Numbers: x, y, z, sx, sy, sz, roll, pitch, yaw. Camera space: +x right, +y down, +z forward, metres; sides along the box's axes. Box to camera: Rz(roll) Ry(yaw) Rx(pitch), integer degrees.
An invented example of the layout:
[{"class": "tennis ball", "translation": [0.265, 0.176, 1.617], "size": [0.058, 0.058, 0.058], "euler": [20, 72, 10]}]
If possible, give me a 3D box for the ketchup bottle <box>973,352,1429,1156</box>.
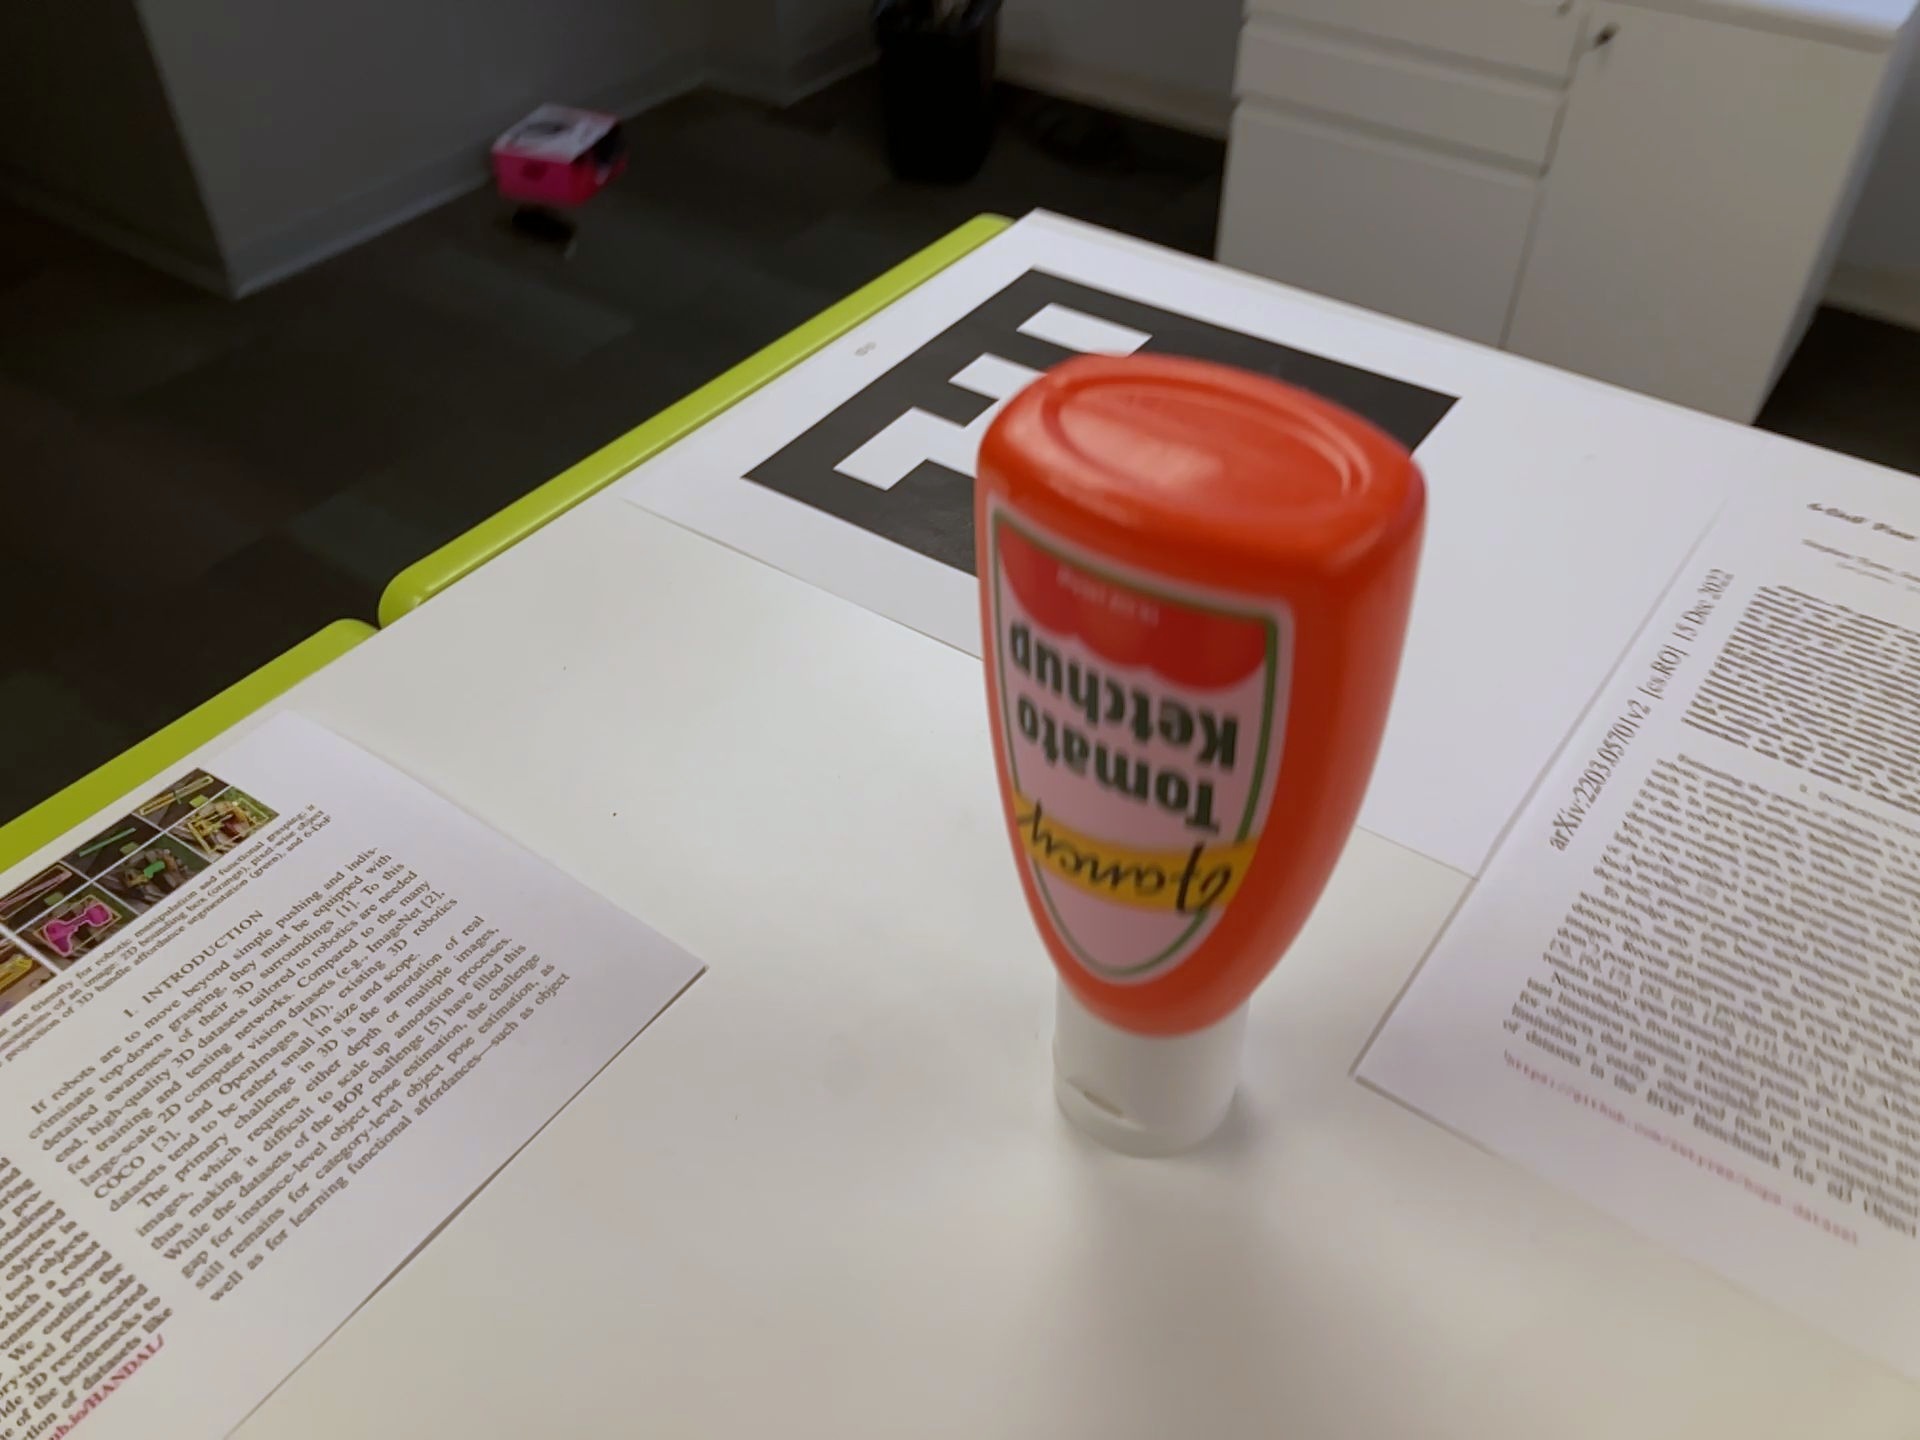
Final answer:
[{"class": "ketchup bottle", "translation": [0.035, 0.016, 0.265], "size": [0.065, 0.149, 0.043], "euler": [26, 49, 27]}]
